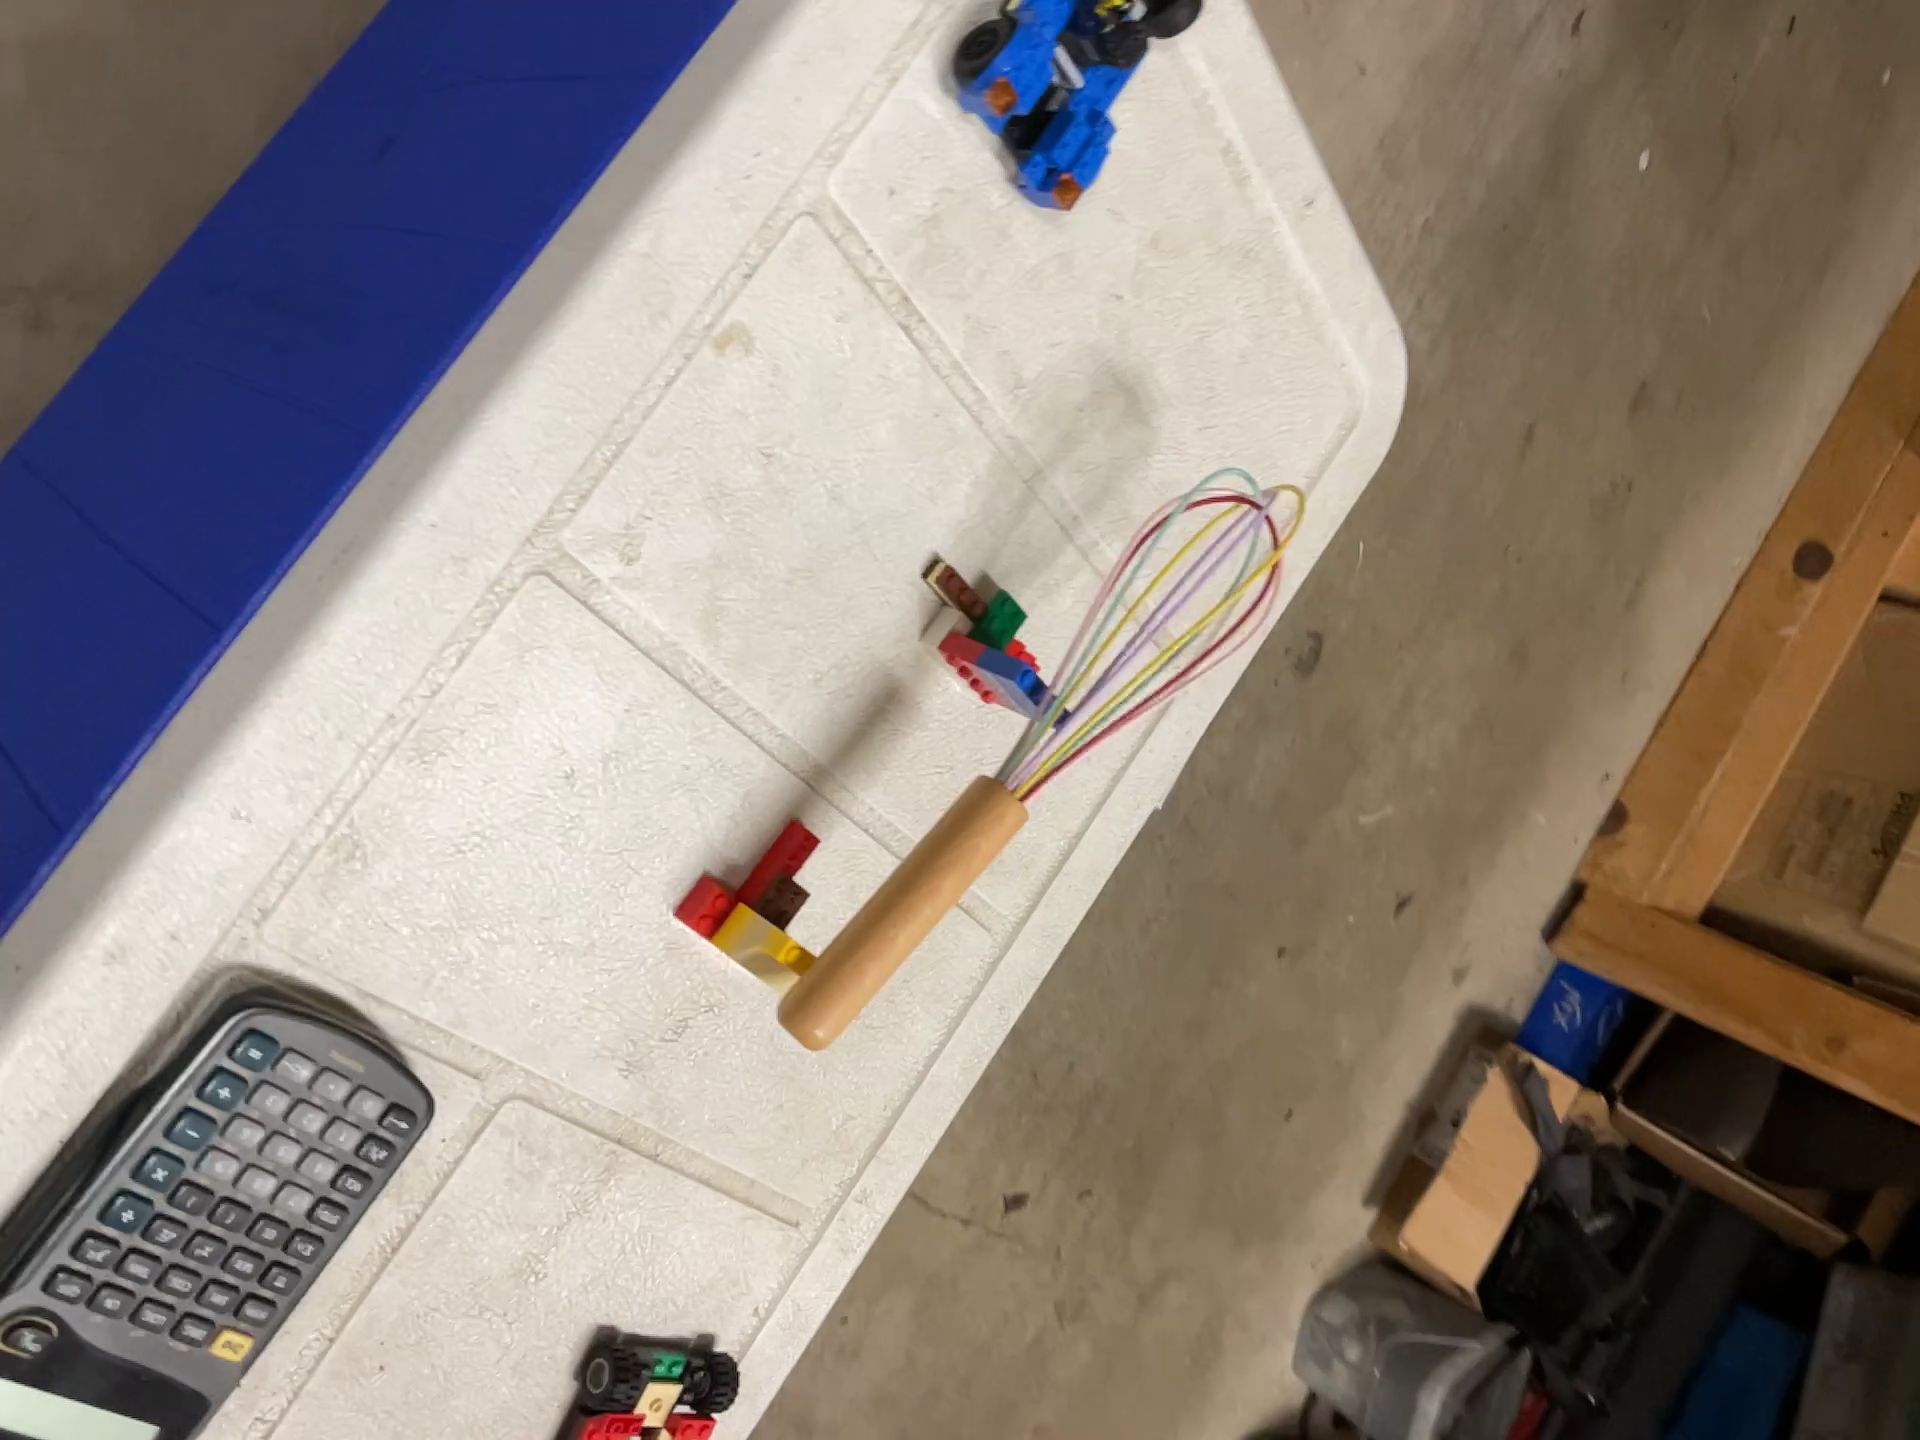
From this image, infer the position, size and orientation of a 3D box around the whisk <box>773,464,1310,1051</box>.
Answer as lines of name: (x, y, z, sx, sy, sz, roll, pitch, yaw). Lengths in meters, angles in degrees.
whisk: (0.030, 0.007, 0.508, 0.245, 0.047, 0.051, -48, 146, -13)
